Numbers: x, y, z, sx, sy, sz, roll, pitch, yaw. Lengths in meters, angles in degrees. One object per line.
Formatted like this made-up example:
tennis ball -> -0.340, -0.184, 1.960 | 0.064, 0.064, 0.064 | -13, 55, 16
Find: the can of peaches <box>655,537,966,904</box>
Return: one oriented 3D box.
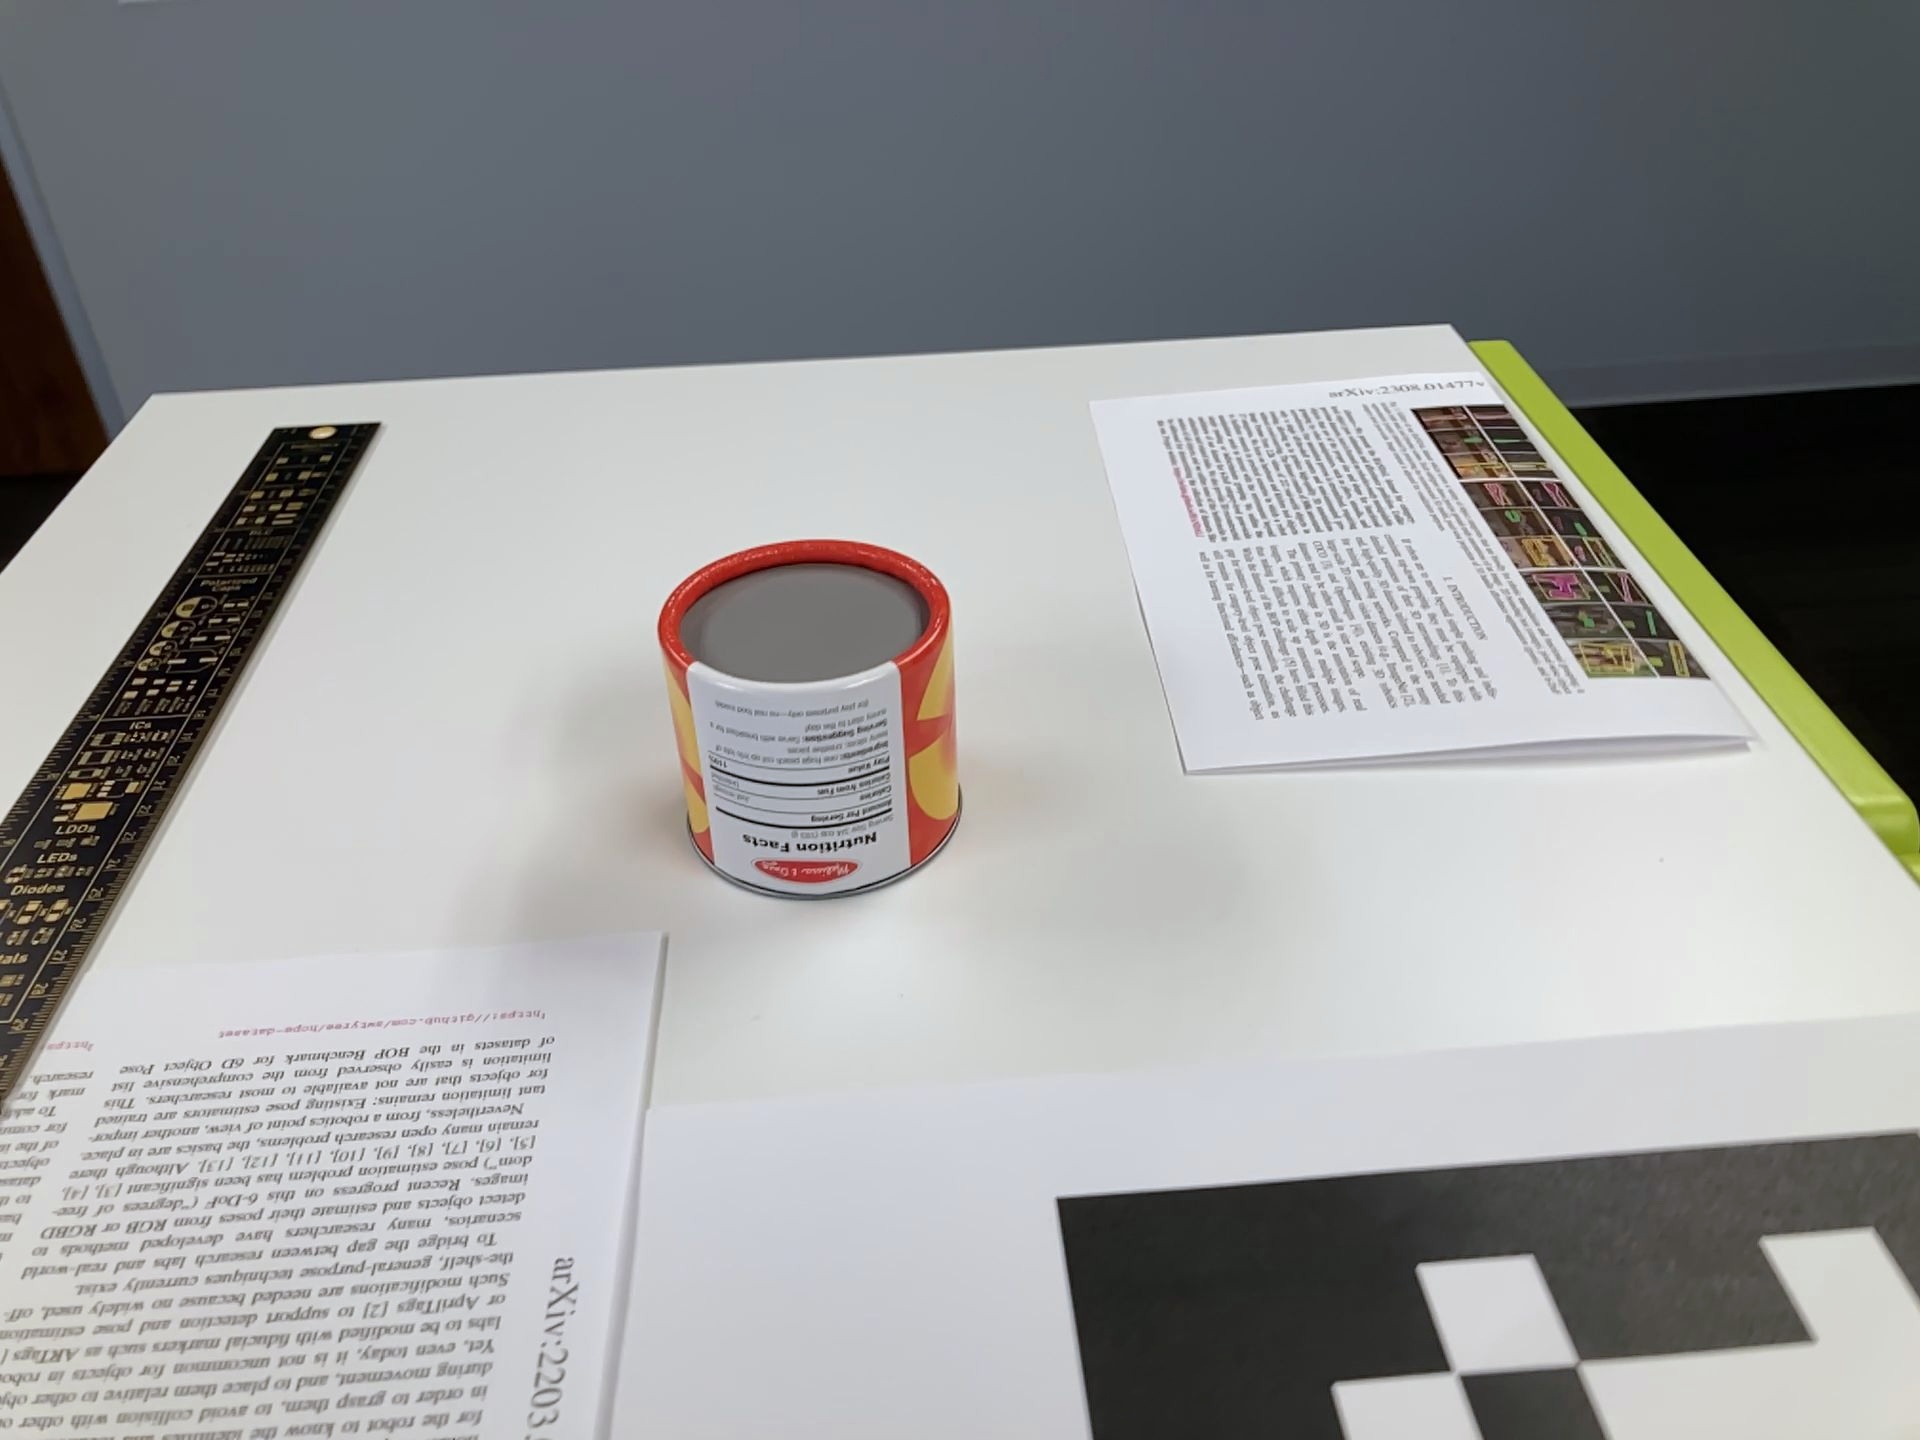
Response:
can of peaches -> -0.033, -0.003, 0.363 | 0.071, 0.058, 0.071 | -2, 36, 1
